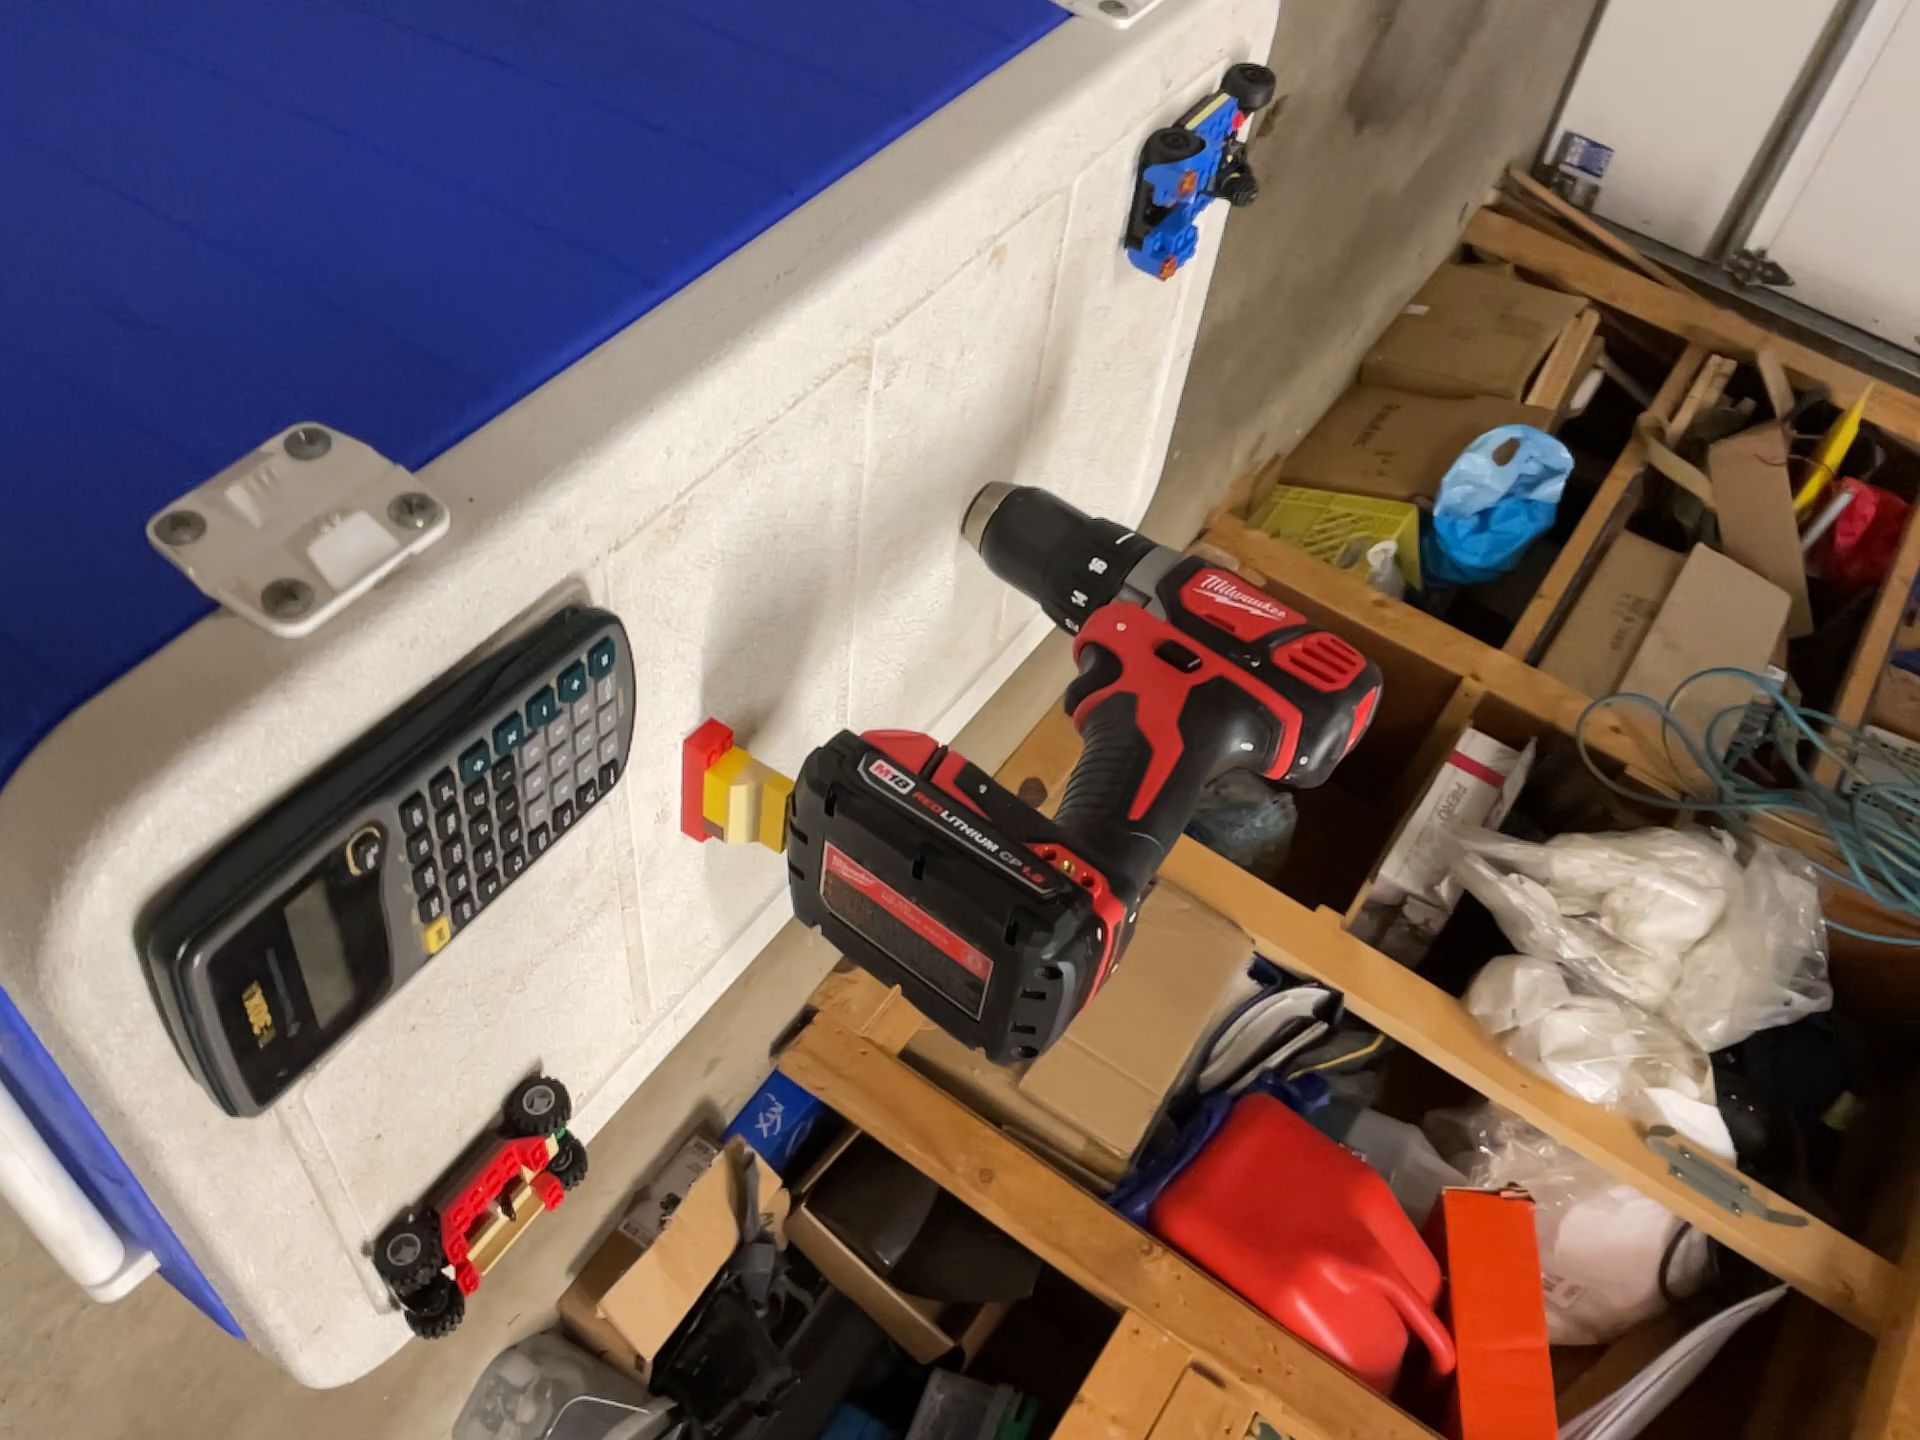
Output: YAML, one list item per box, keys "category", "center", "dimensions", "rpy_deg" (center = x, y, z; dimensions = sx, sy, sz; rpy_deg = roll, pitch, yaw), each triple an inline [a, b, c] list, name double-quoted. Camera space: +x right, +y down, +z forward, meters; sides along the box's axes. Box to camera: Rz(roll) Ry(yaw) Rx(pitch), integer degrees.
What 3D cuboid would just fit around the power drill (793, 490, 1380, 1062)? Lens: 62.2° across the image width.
- category: "power drill"
  center: [0.034, 0.000, 0.615]
  dimensions: [0.227, 0.188, 0.080]
  rpy_deg: [-40, 153, -37]
